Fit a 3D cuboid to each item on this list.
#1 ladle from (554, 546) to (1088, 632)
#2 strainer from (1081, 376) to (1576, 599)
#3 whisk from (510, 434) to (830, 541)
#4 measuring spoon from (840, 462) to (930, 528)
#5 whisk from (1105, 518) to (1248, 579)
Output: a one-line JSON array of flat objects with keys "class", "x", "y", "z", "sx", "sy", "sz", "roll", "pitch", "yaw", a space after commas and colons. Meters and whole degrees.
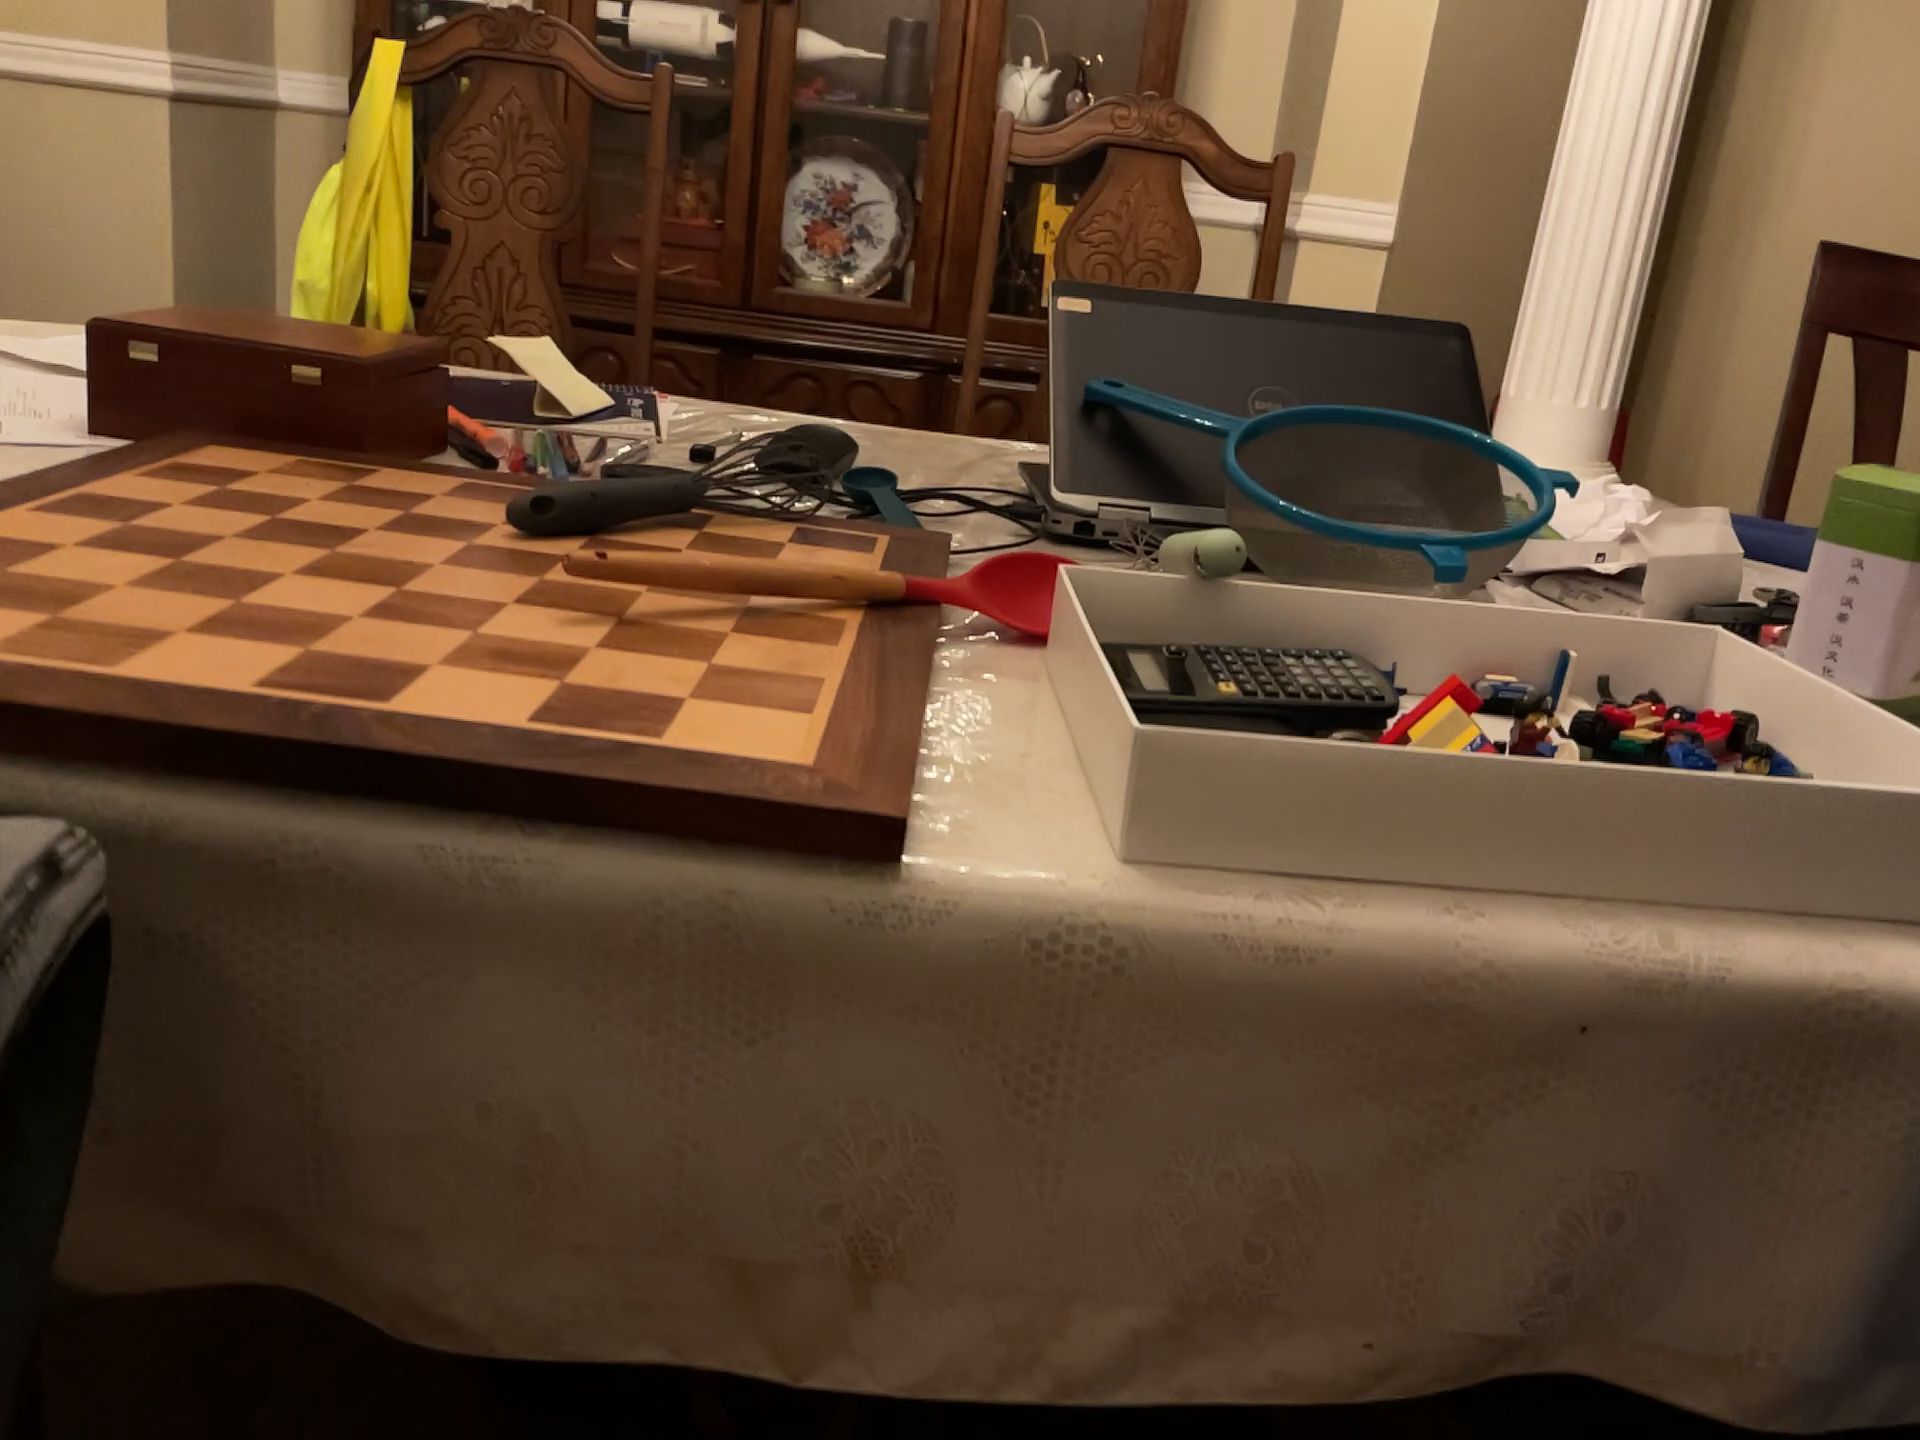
[{"class": "ladle", "x": -0.054, "y": -0.069, "z": 0.807, "sx": 0.315, "sy": 0.031, "sz": 0.069, "roll": -1, "pitch": 41, "yaw": -37}, {"class": "strainer", "x": 0.220, "y": -0.149, "z": 1.076, "sx": 0.341, "sy": 0.095, "sz": 0.211, "roll": 25, "pitch": 38, "yaw": 31}, {"class": "whisk", "x": -0.163, "y": -0.132, "z": 0.938, "sx": 0.055, "sy": 0.055, "sz": 0.238, "roll": 5, "pitch": 17, "yaw": 41}, {"class": "measuring spoon", "x": -0.049, "y": -0.146, "z": 1.109, "sx": 0.042, "sy": 0.021, "sz": 0.129, "roll": -9, "pitch": 35, "yaw": -22}, {"class": "whisk", "x": 0.123, "y": -0.092, "z": 0.899, "sx": 0.059, "sy": 0.058, "sz": 0.246, "roll": -24, "pitch": 6, "yaw": -2}]
